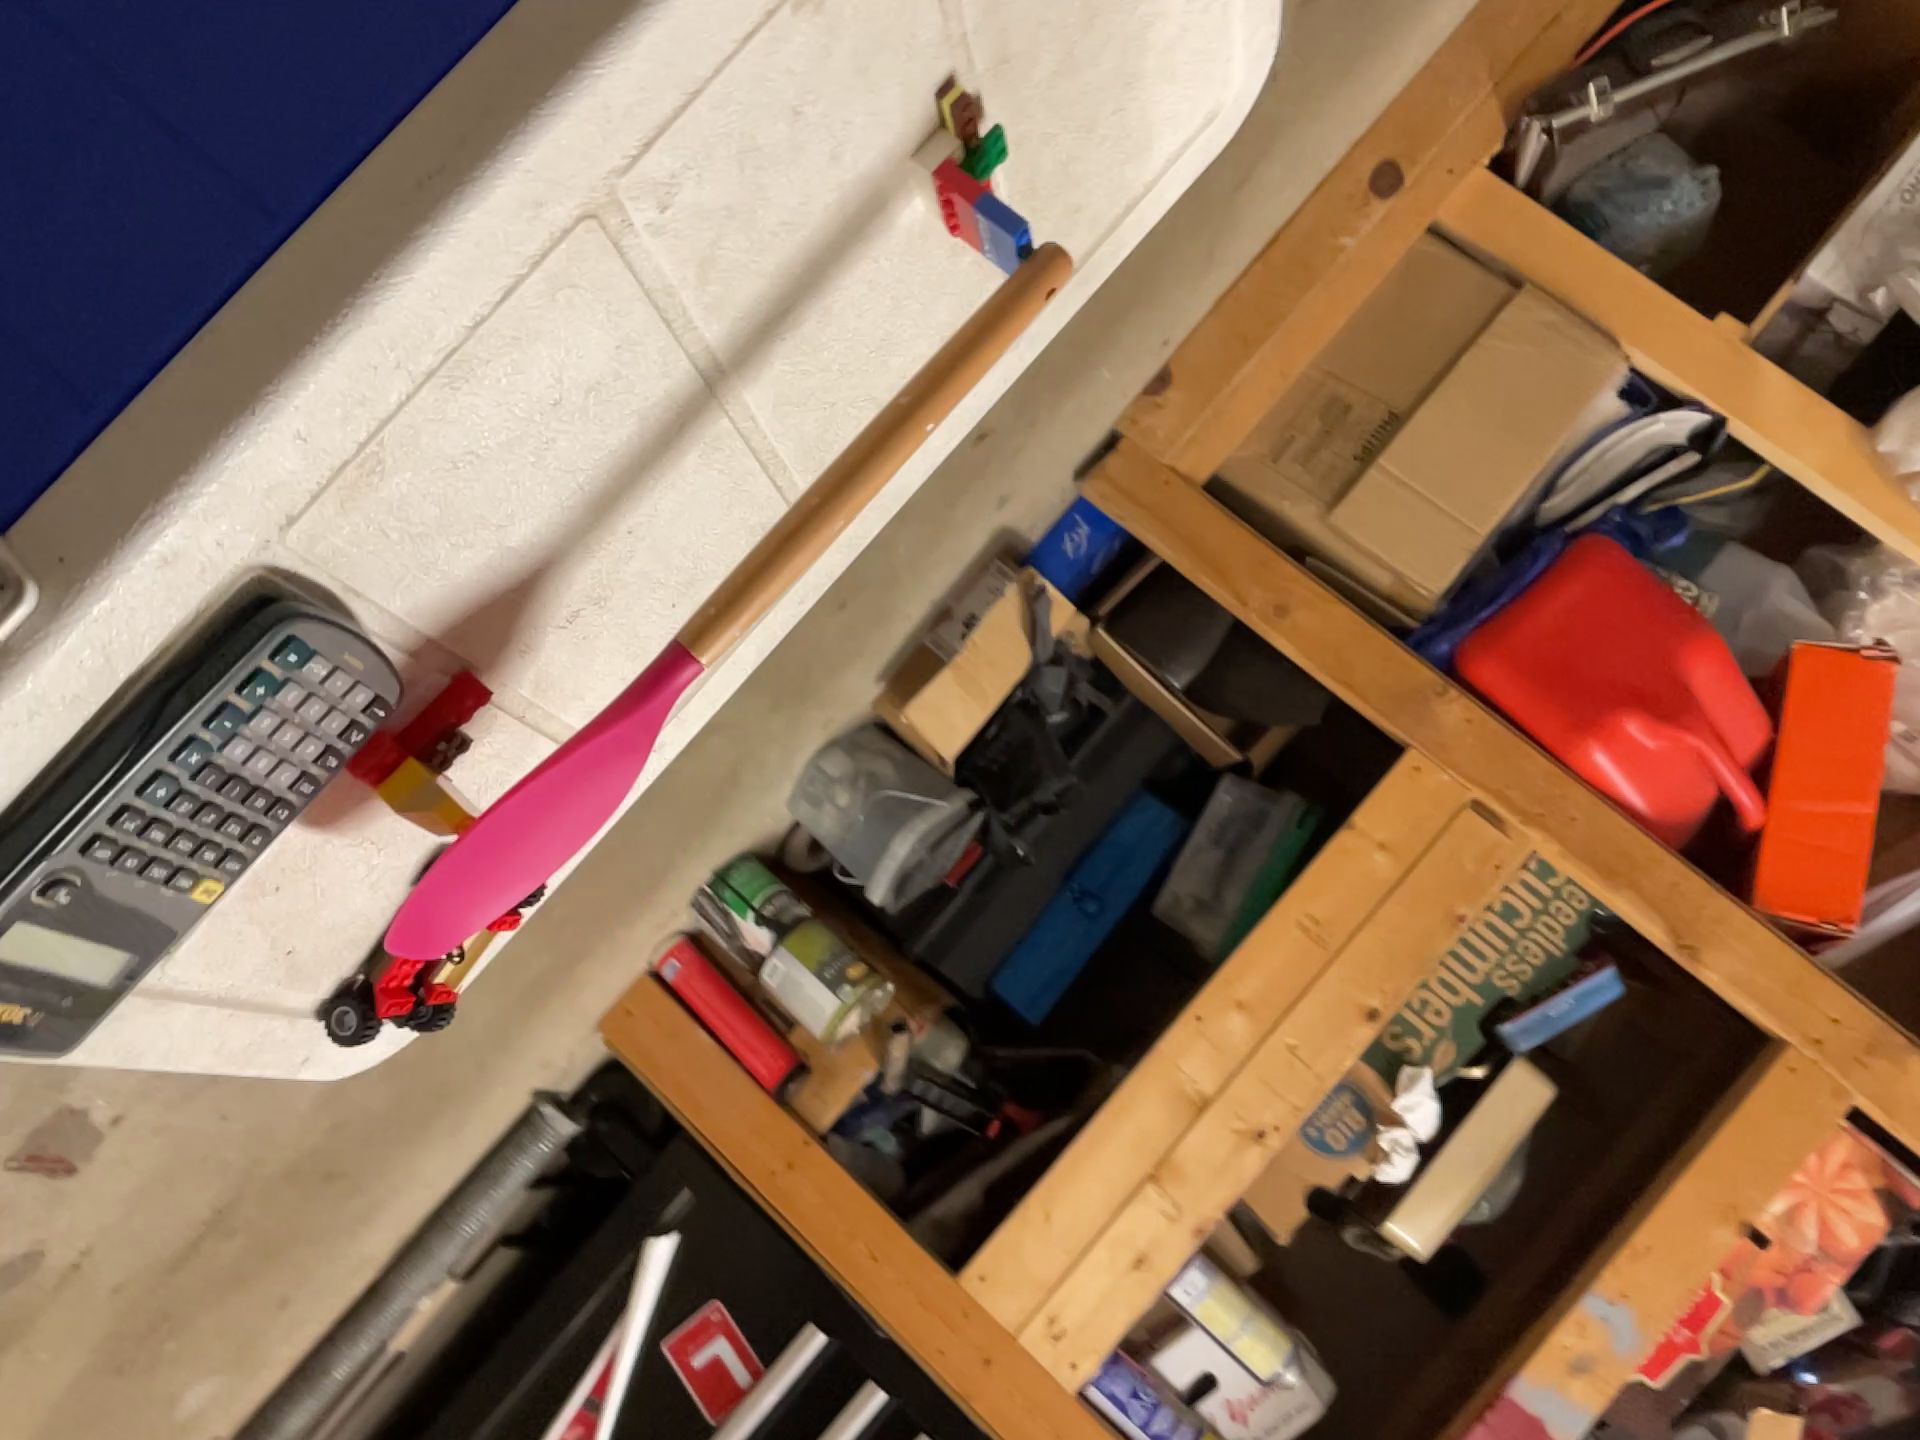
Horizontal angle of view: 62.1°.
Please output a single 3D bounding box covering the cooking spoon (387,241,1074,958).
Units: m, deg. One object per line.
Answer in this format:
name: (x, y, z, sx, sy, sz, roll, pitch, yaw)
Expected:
cooking spoon: (-0.073, -0.042, 0.530, 0.319, 0.017, 0.068, -47, 164, -4)
